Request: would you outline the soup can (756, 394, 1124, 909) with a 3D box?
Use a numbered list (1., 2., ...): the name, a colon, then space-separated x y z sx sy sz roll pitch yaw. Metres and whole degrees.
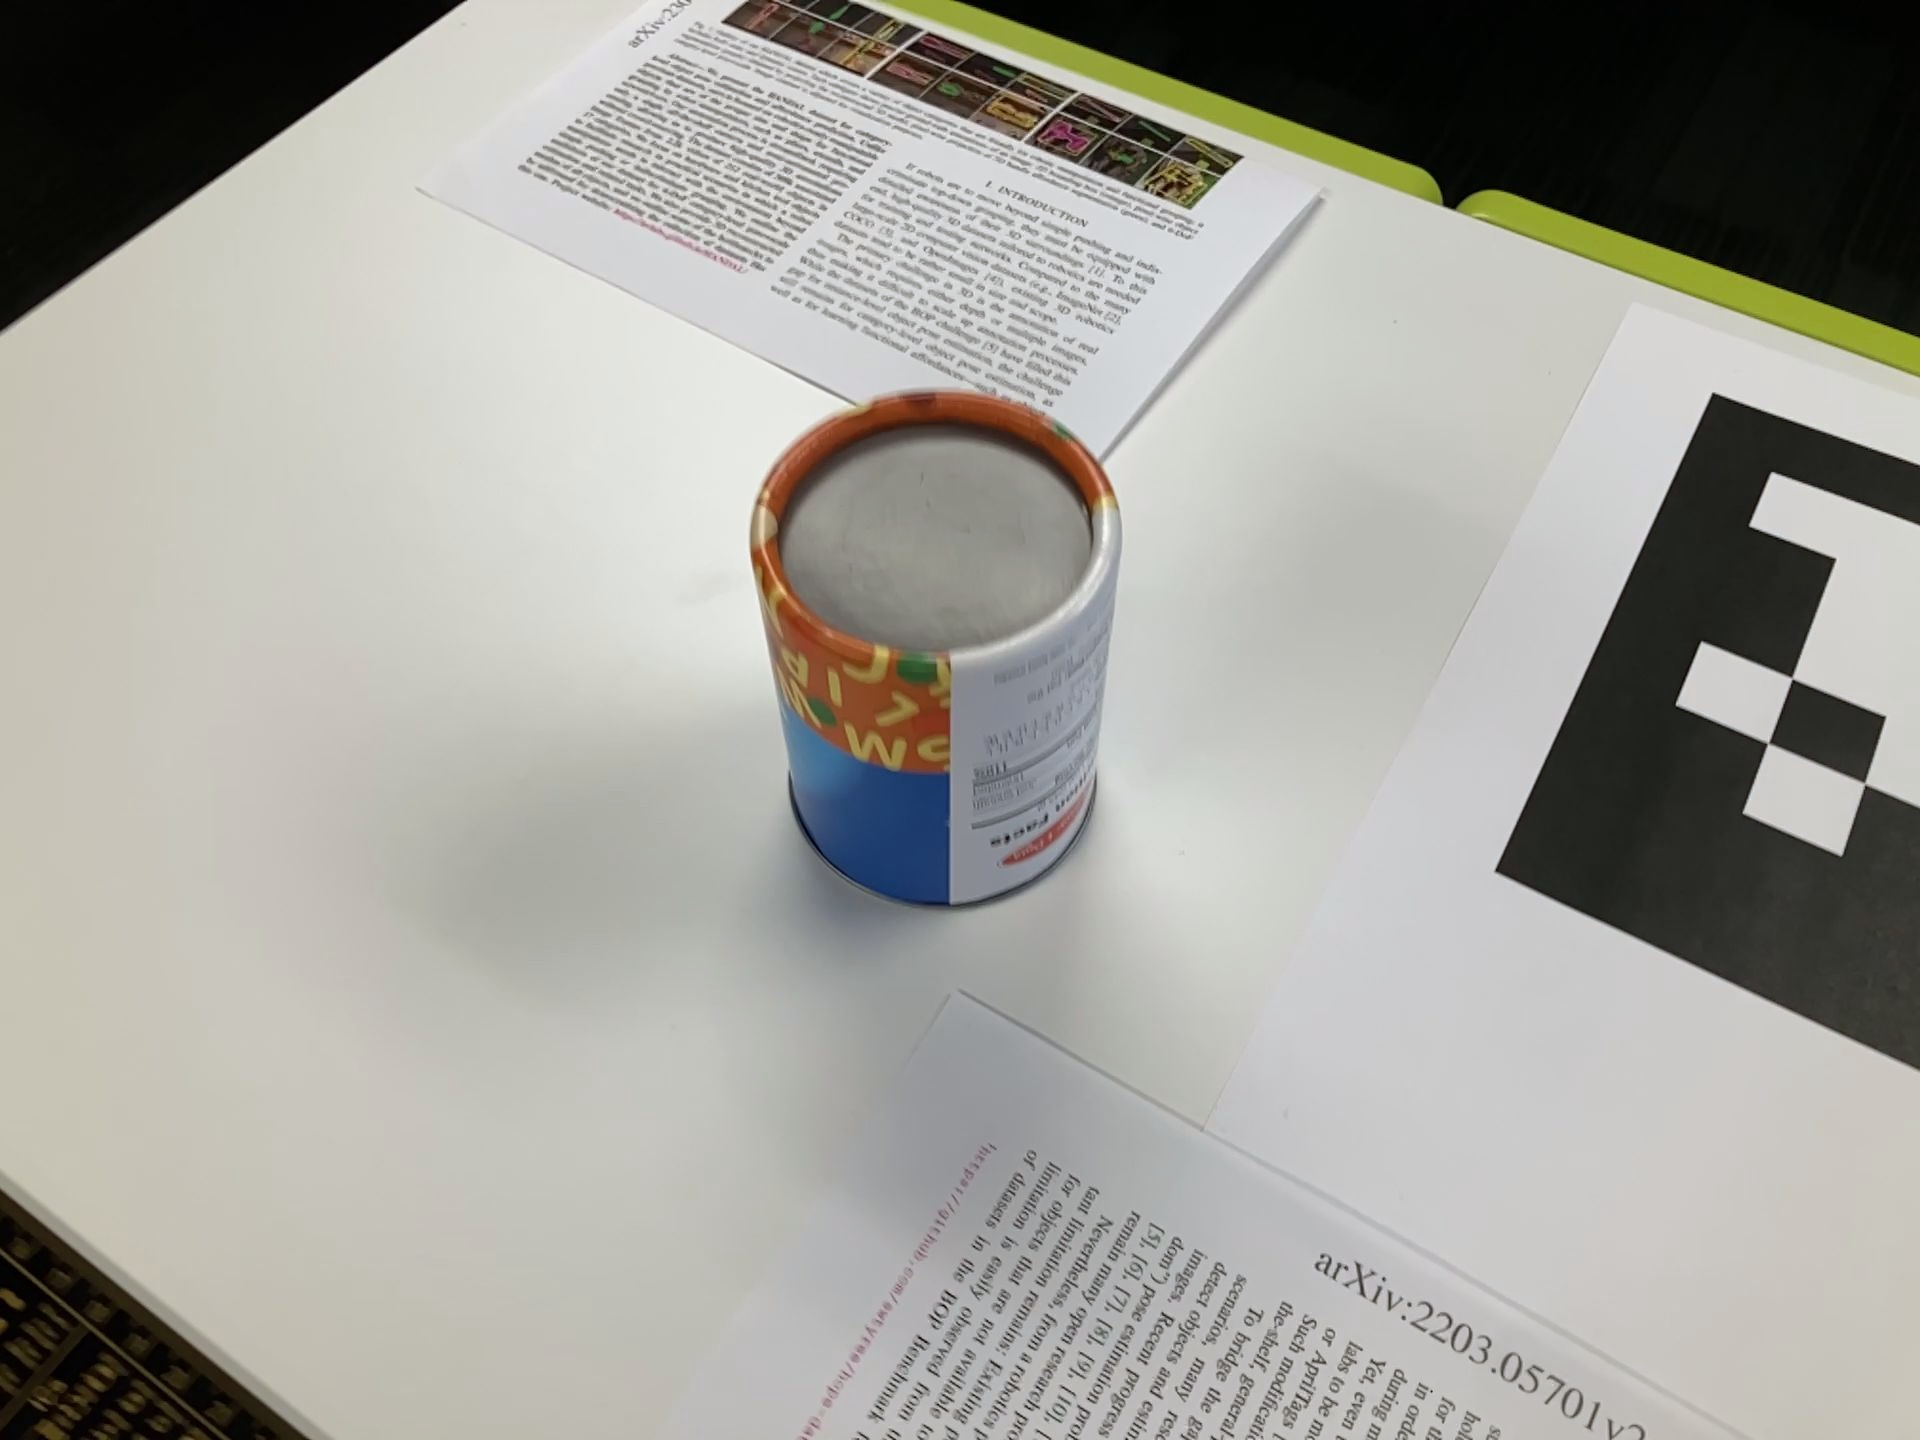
1. soup can: -0.006 -0.013 0.313 0.071 0.084 0.071 0 55 0
